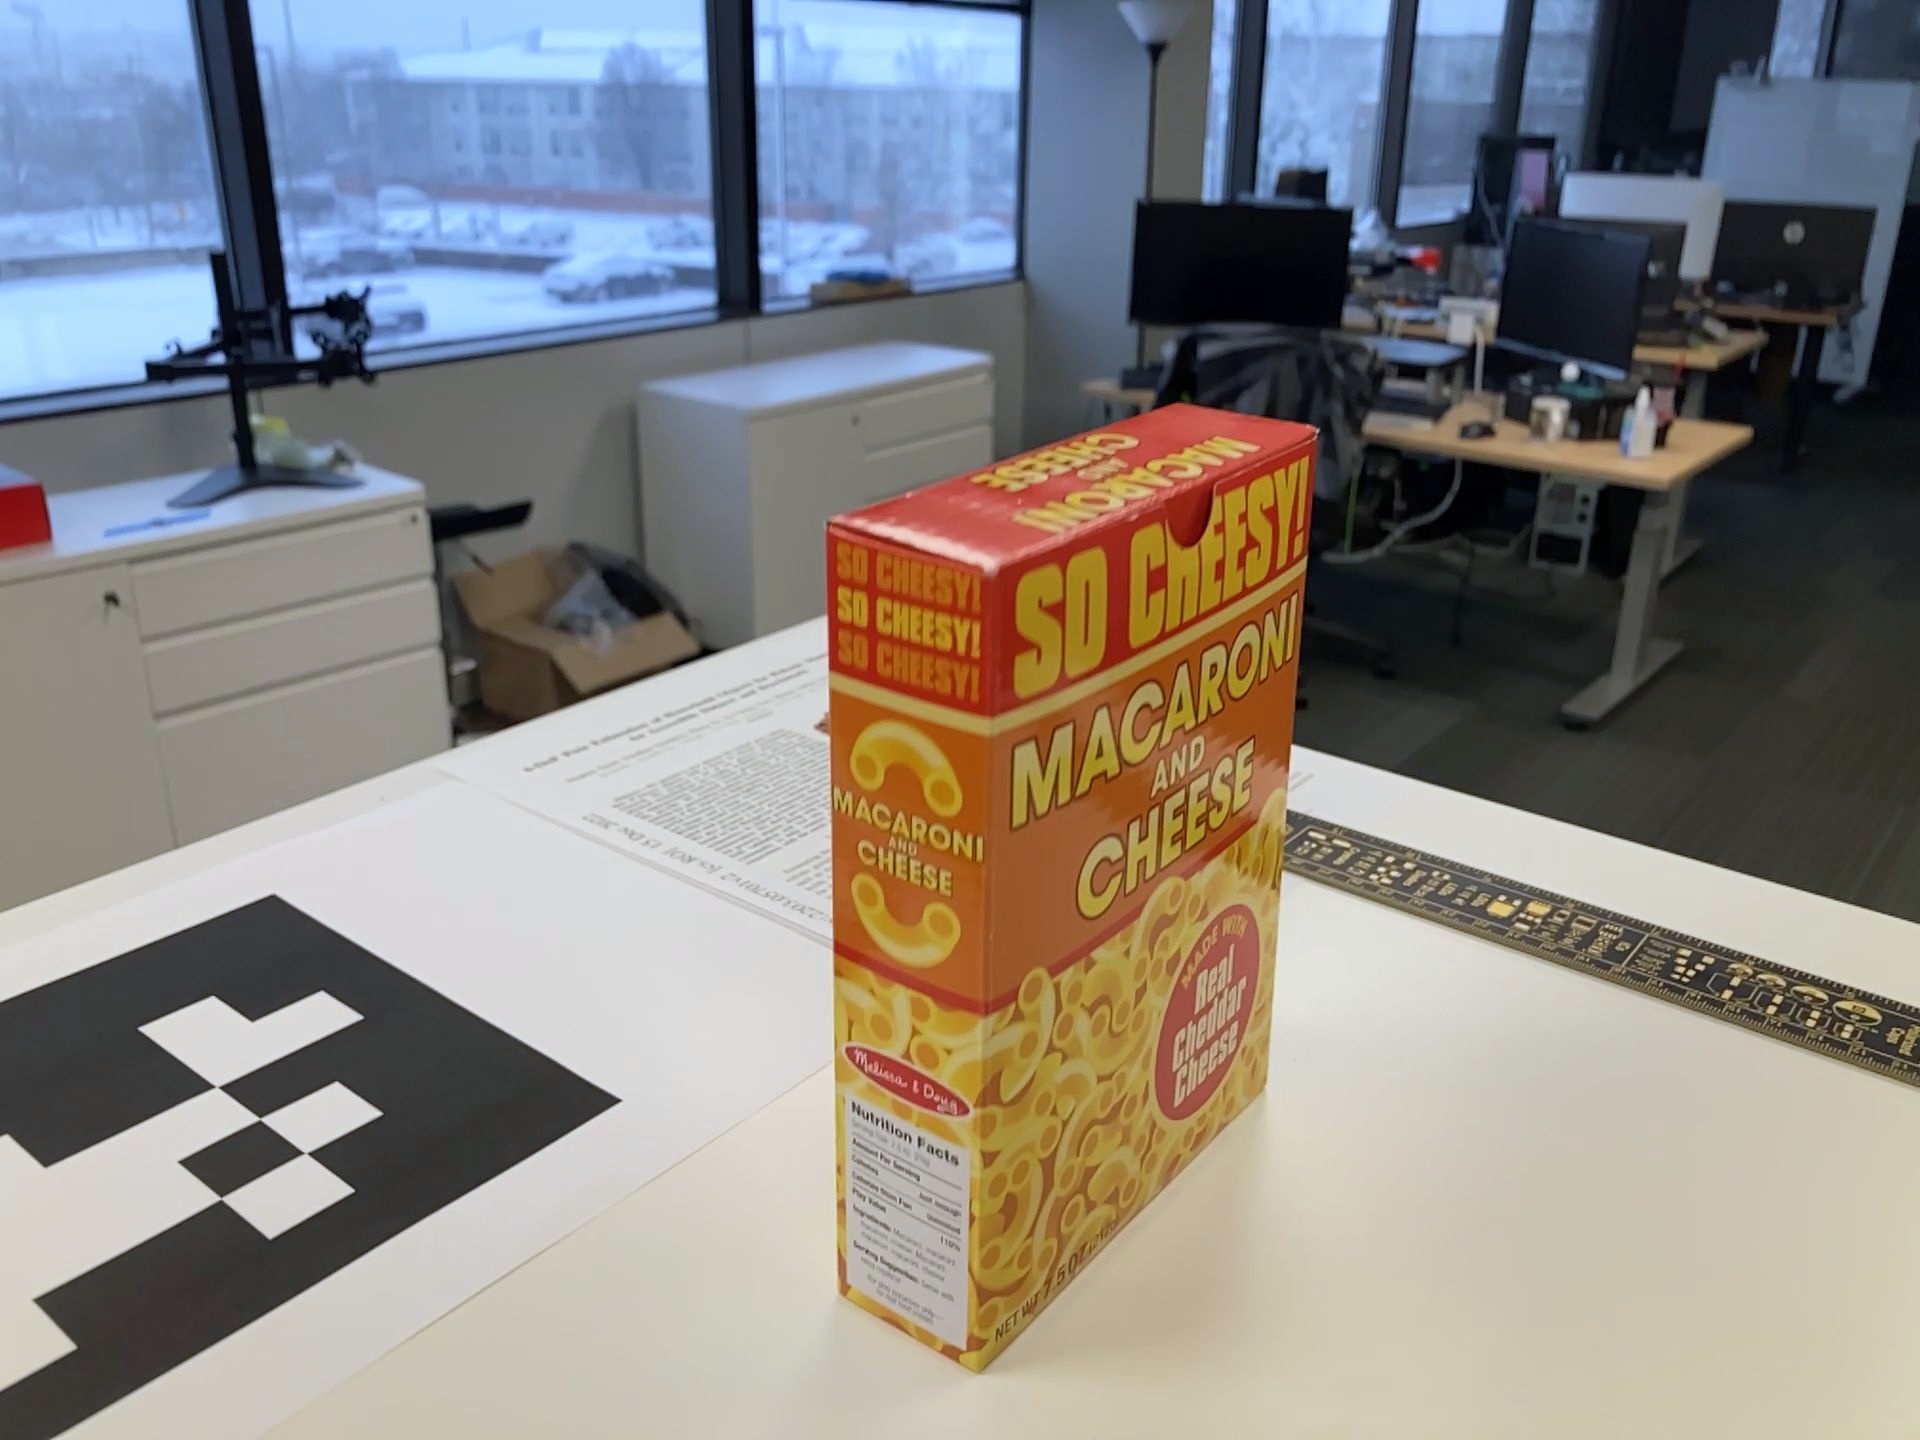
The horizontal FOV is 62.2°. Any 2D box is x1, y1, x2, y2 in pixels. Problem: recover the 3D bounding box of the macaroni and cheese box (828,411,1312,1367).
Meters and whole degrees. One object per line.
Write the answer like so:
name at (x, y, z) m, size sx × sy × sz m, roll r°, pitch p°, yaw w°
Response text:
macaroni and cheese box at (0.027, 0.028, 0.336) m, size 0.040 × 0.166 × 0.124 m, roll 16°, pitch 27°, yaw 32°
